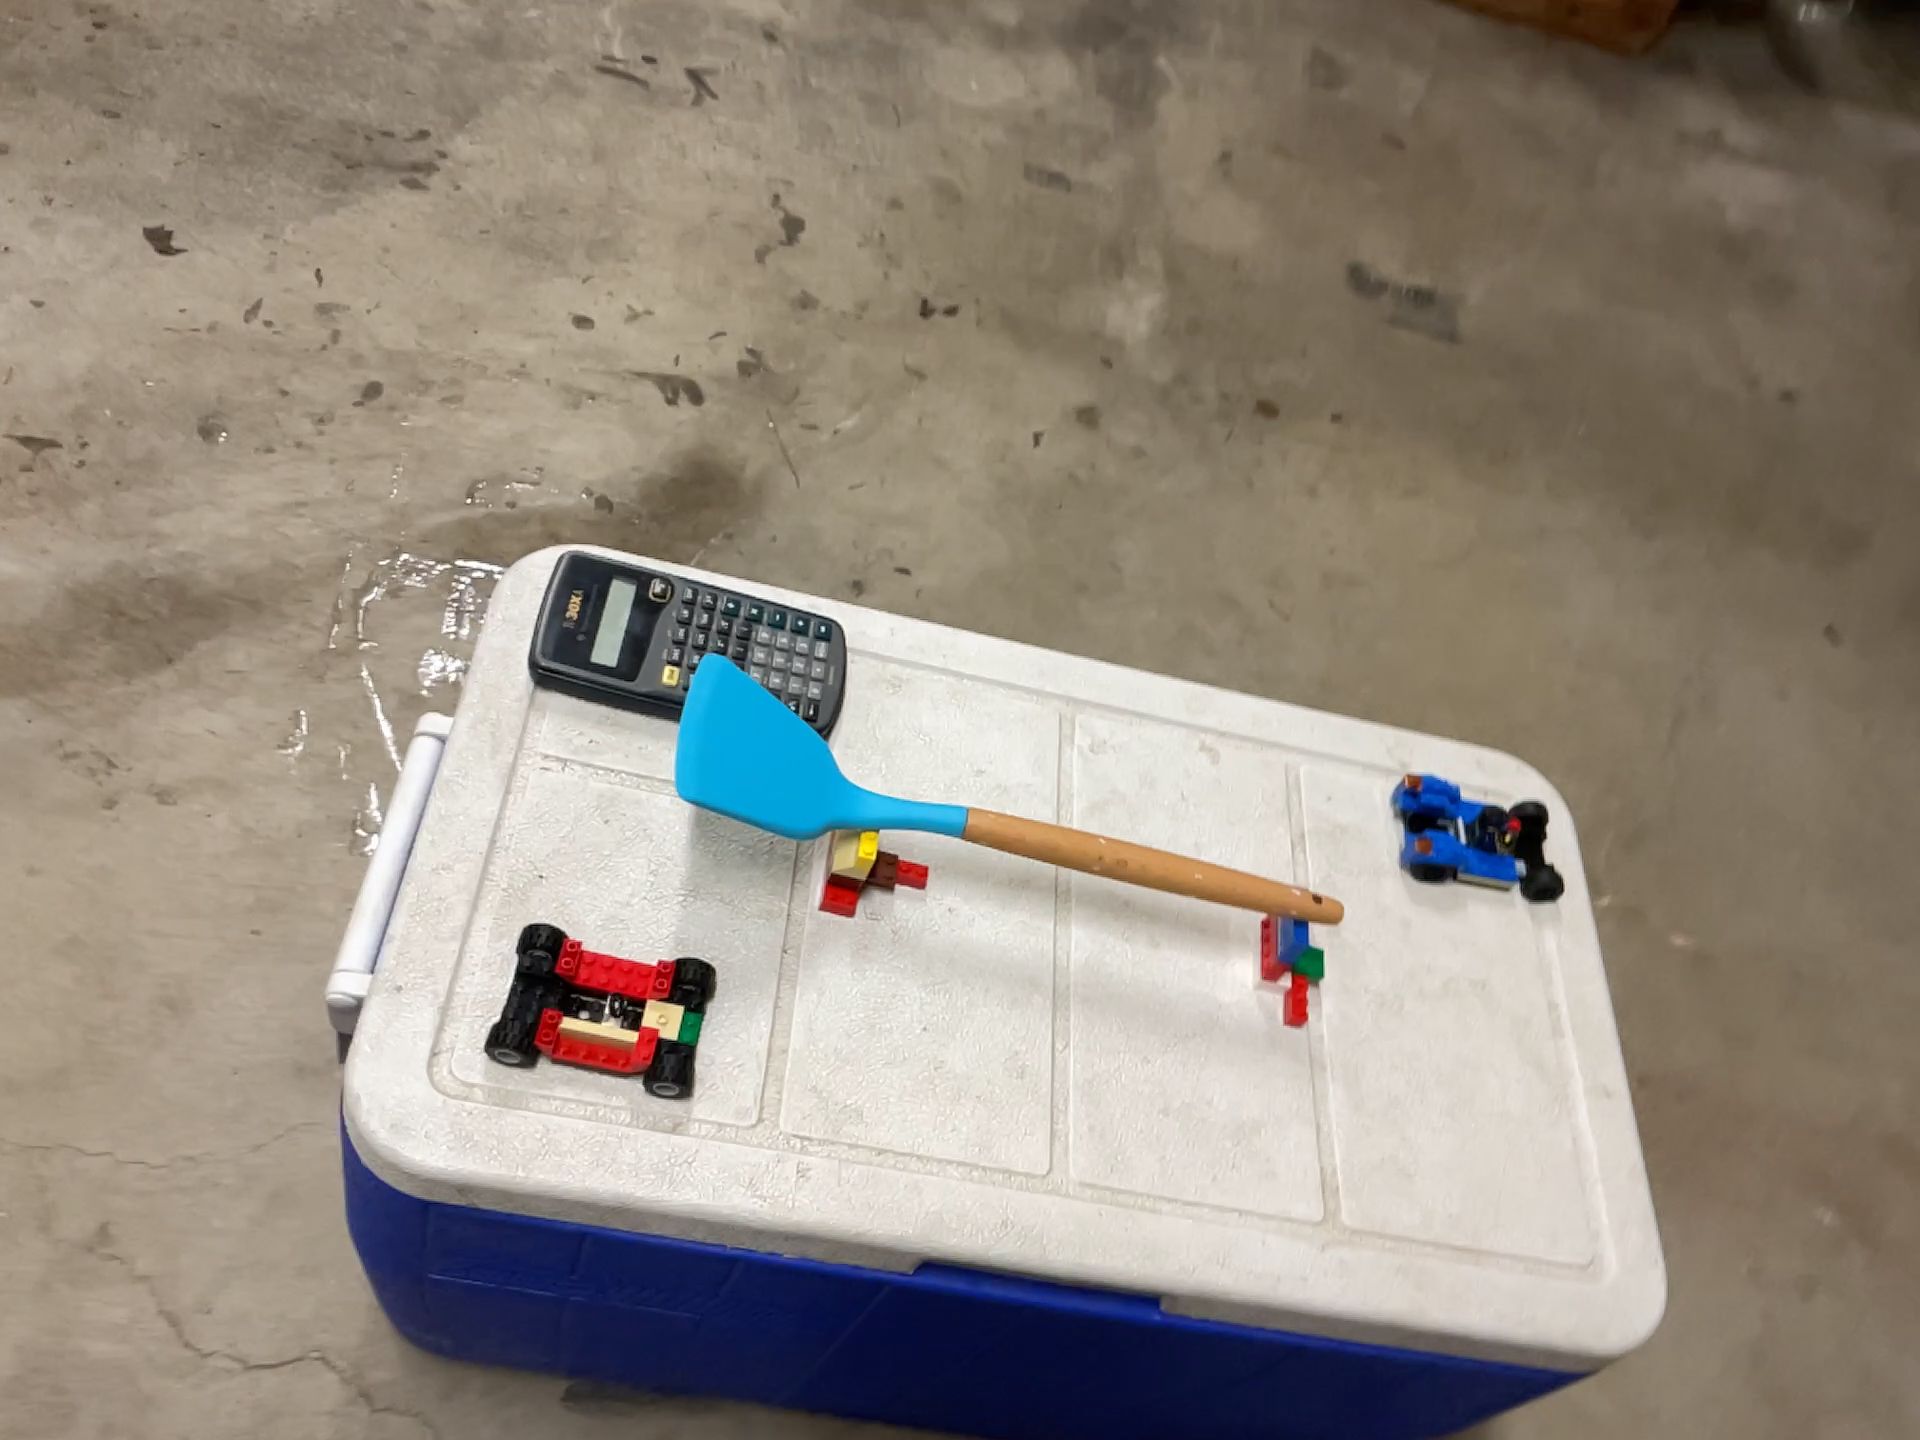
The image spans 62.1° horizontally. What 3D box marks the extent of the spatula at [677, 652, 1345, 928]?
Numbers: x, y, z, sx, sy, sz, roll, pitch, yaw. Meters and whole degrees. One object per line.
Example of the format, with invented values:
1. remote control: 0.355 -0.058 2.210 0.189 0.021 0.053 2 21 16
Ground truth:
1. spatula: 0.030 0.049 0.719 0.317 0.044 0.083 14 50 -9
